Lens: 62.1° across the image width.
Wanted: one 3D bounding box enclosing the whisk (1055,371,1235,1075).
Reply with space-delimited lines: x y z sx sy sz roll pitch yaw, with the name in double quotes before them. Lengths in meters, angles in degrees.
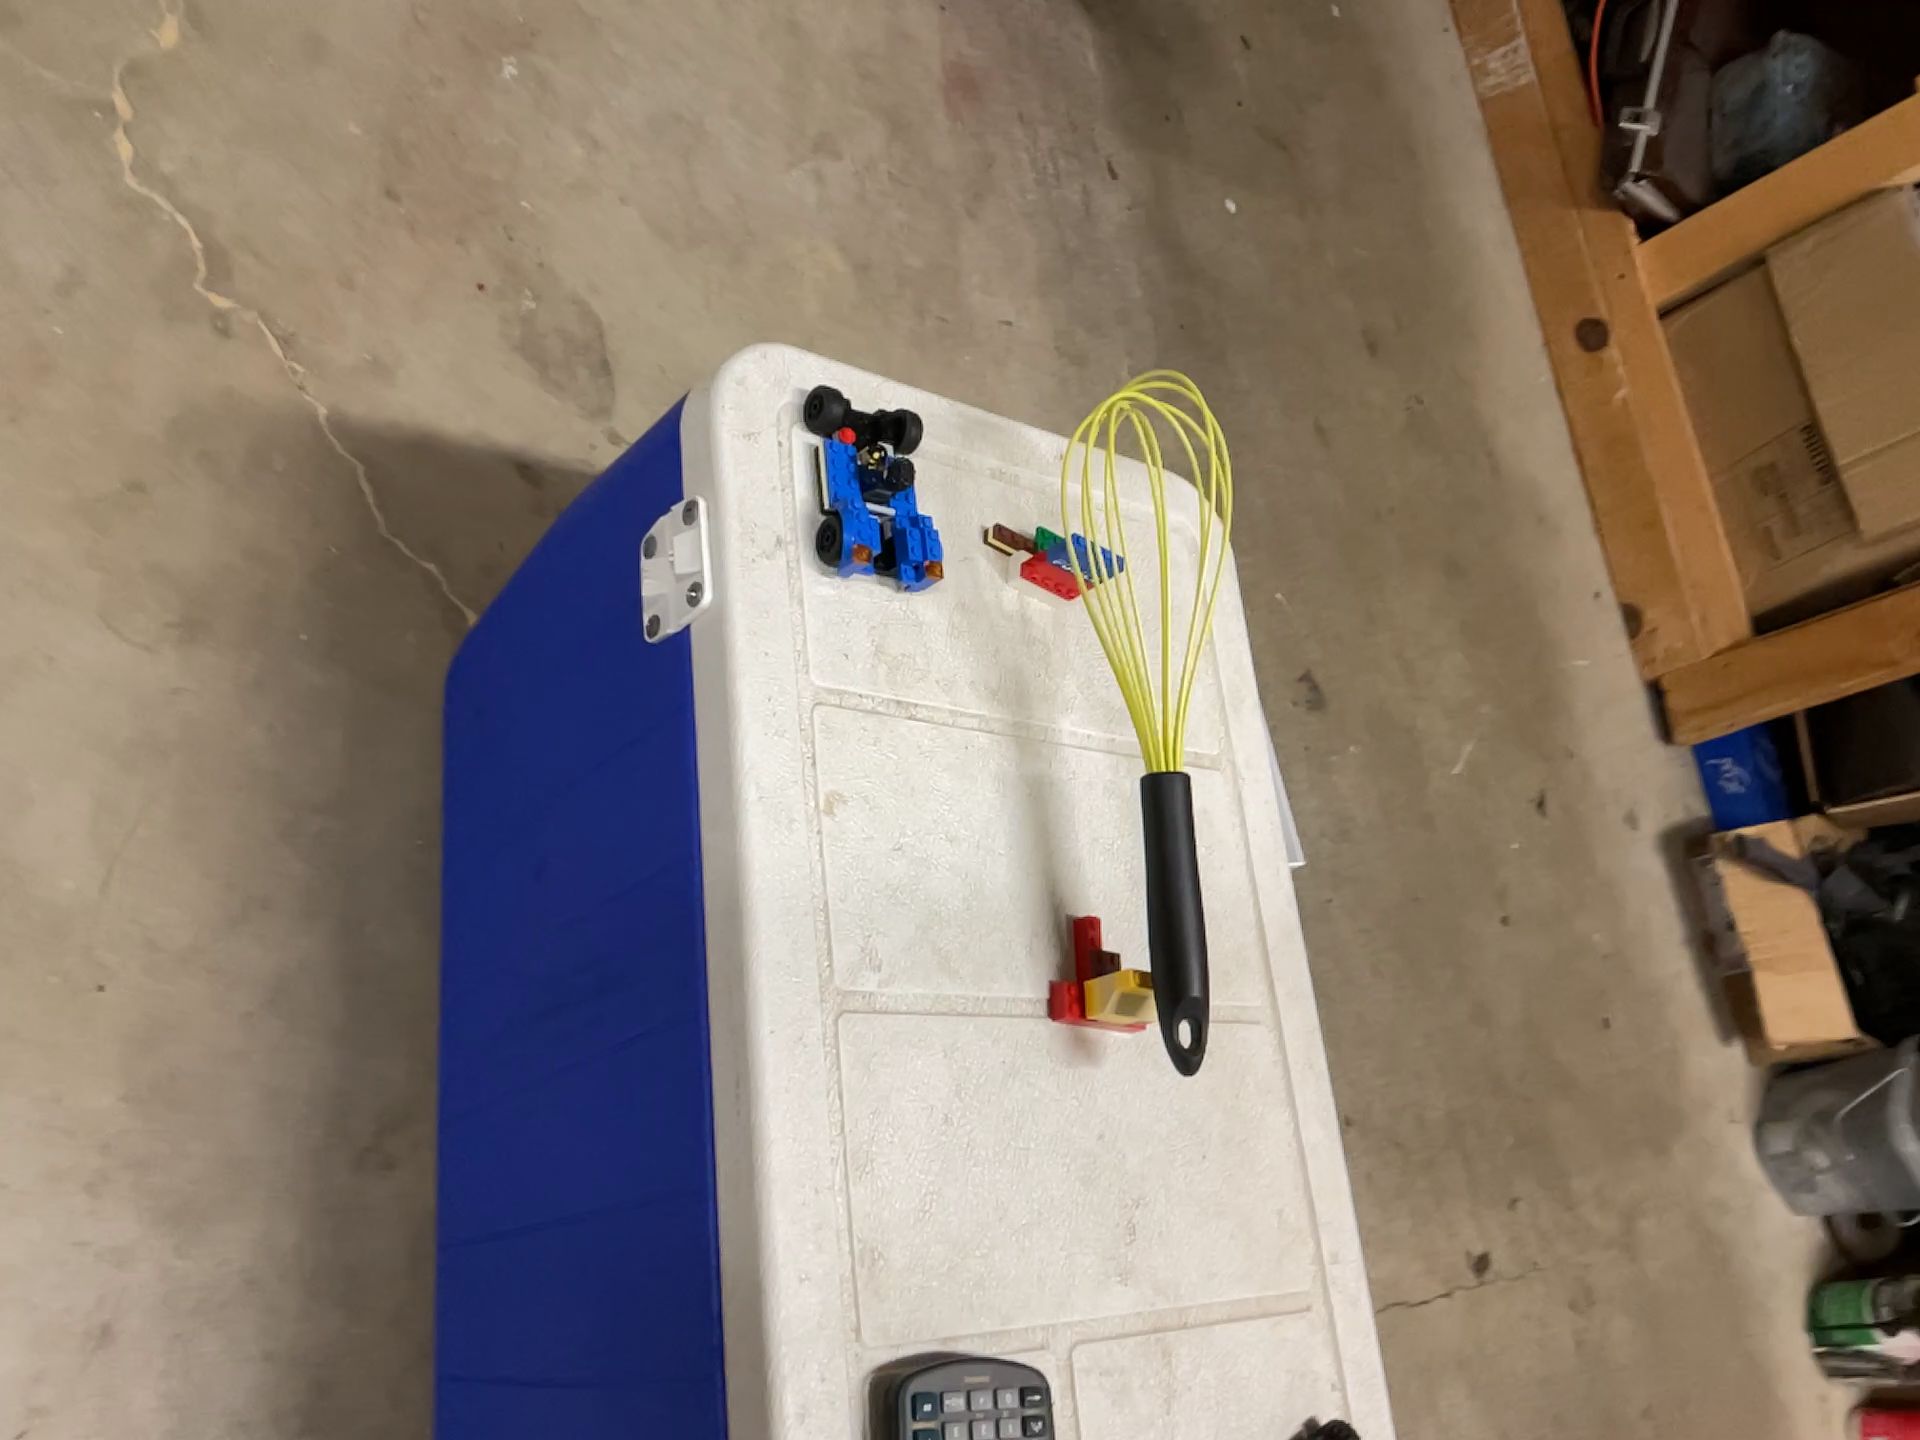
"whisk" 0.087 -0.004 0.699 0.080 0.067 0.312 -4 78 6
